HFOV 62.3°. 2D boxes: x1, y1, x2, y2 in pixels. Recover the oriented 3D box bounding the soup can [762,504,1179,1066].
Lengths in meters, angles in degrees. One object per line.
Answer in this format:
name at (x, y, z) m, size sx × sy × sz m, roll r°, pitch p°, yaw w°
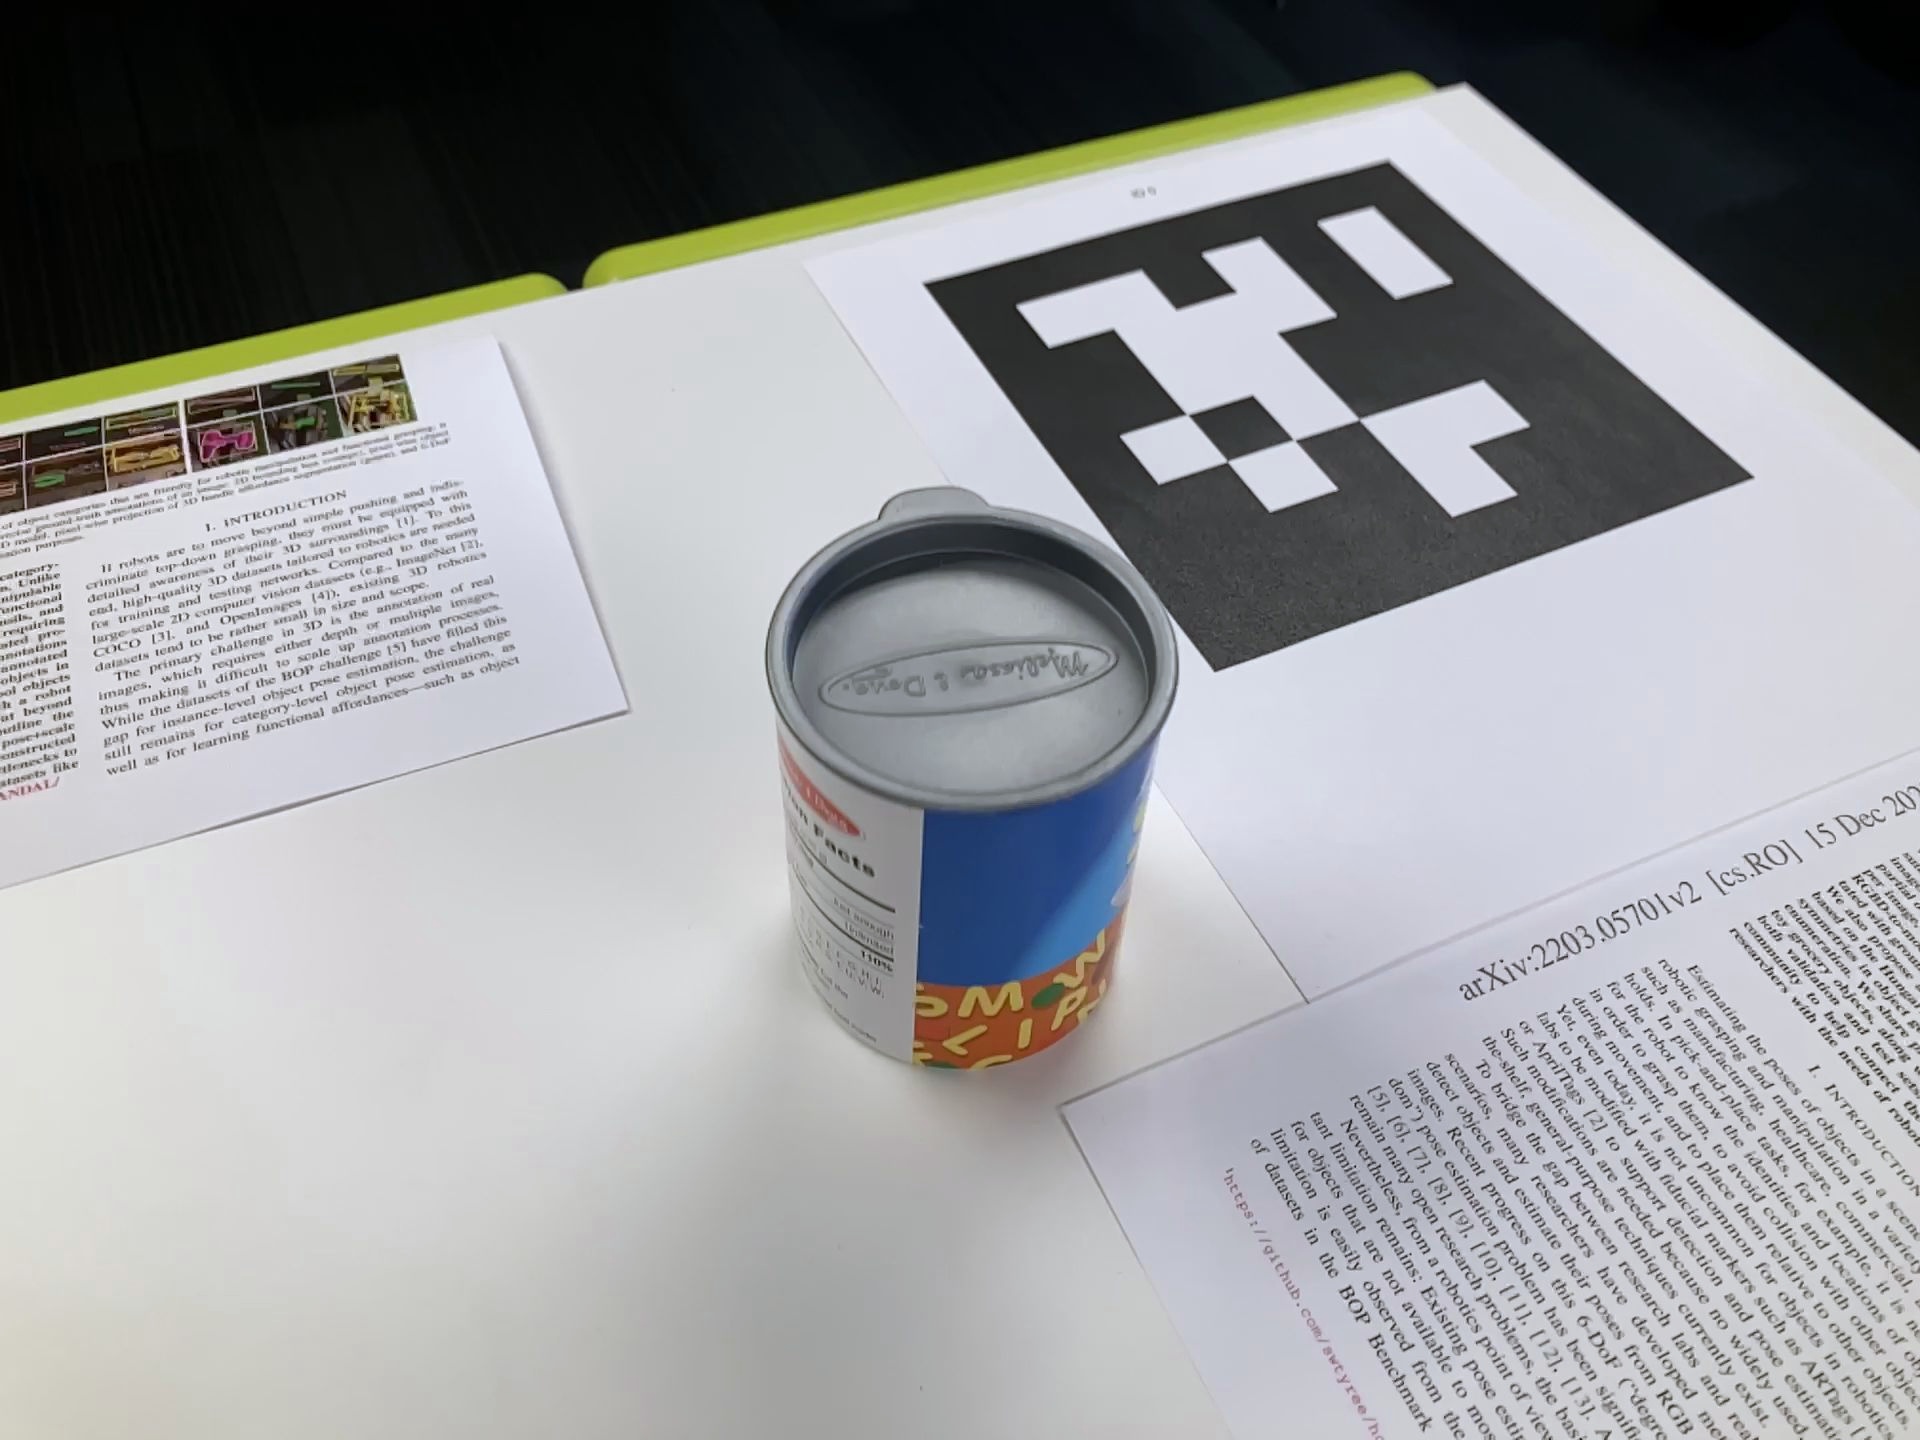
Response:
soup can at (0.003, 0.013, 0.287) m, size 0.071 × 0.084 × 0.071 m, roll 1°, pitch 51°, yaw -1°
